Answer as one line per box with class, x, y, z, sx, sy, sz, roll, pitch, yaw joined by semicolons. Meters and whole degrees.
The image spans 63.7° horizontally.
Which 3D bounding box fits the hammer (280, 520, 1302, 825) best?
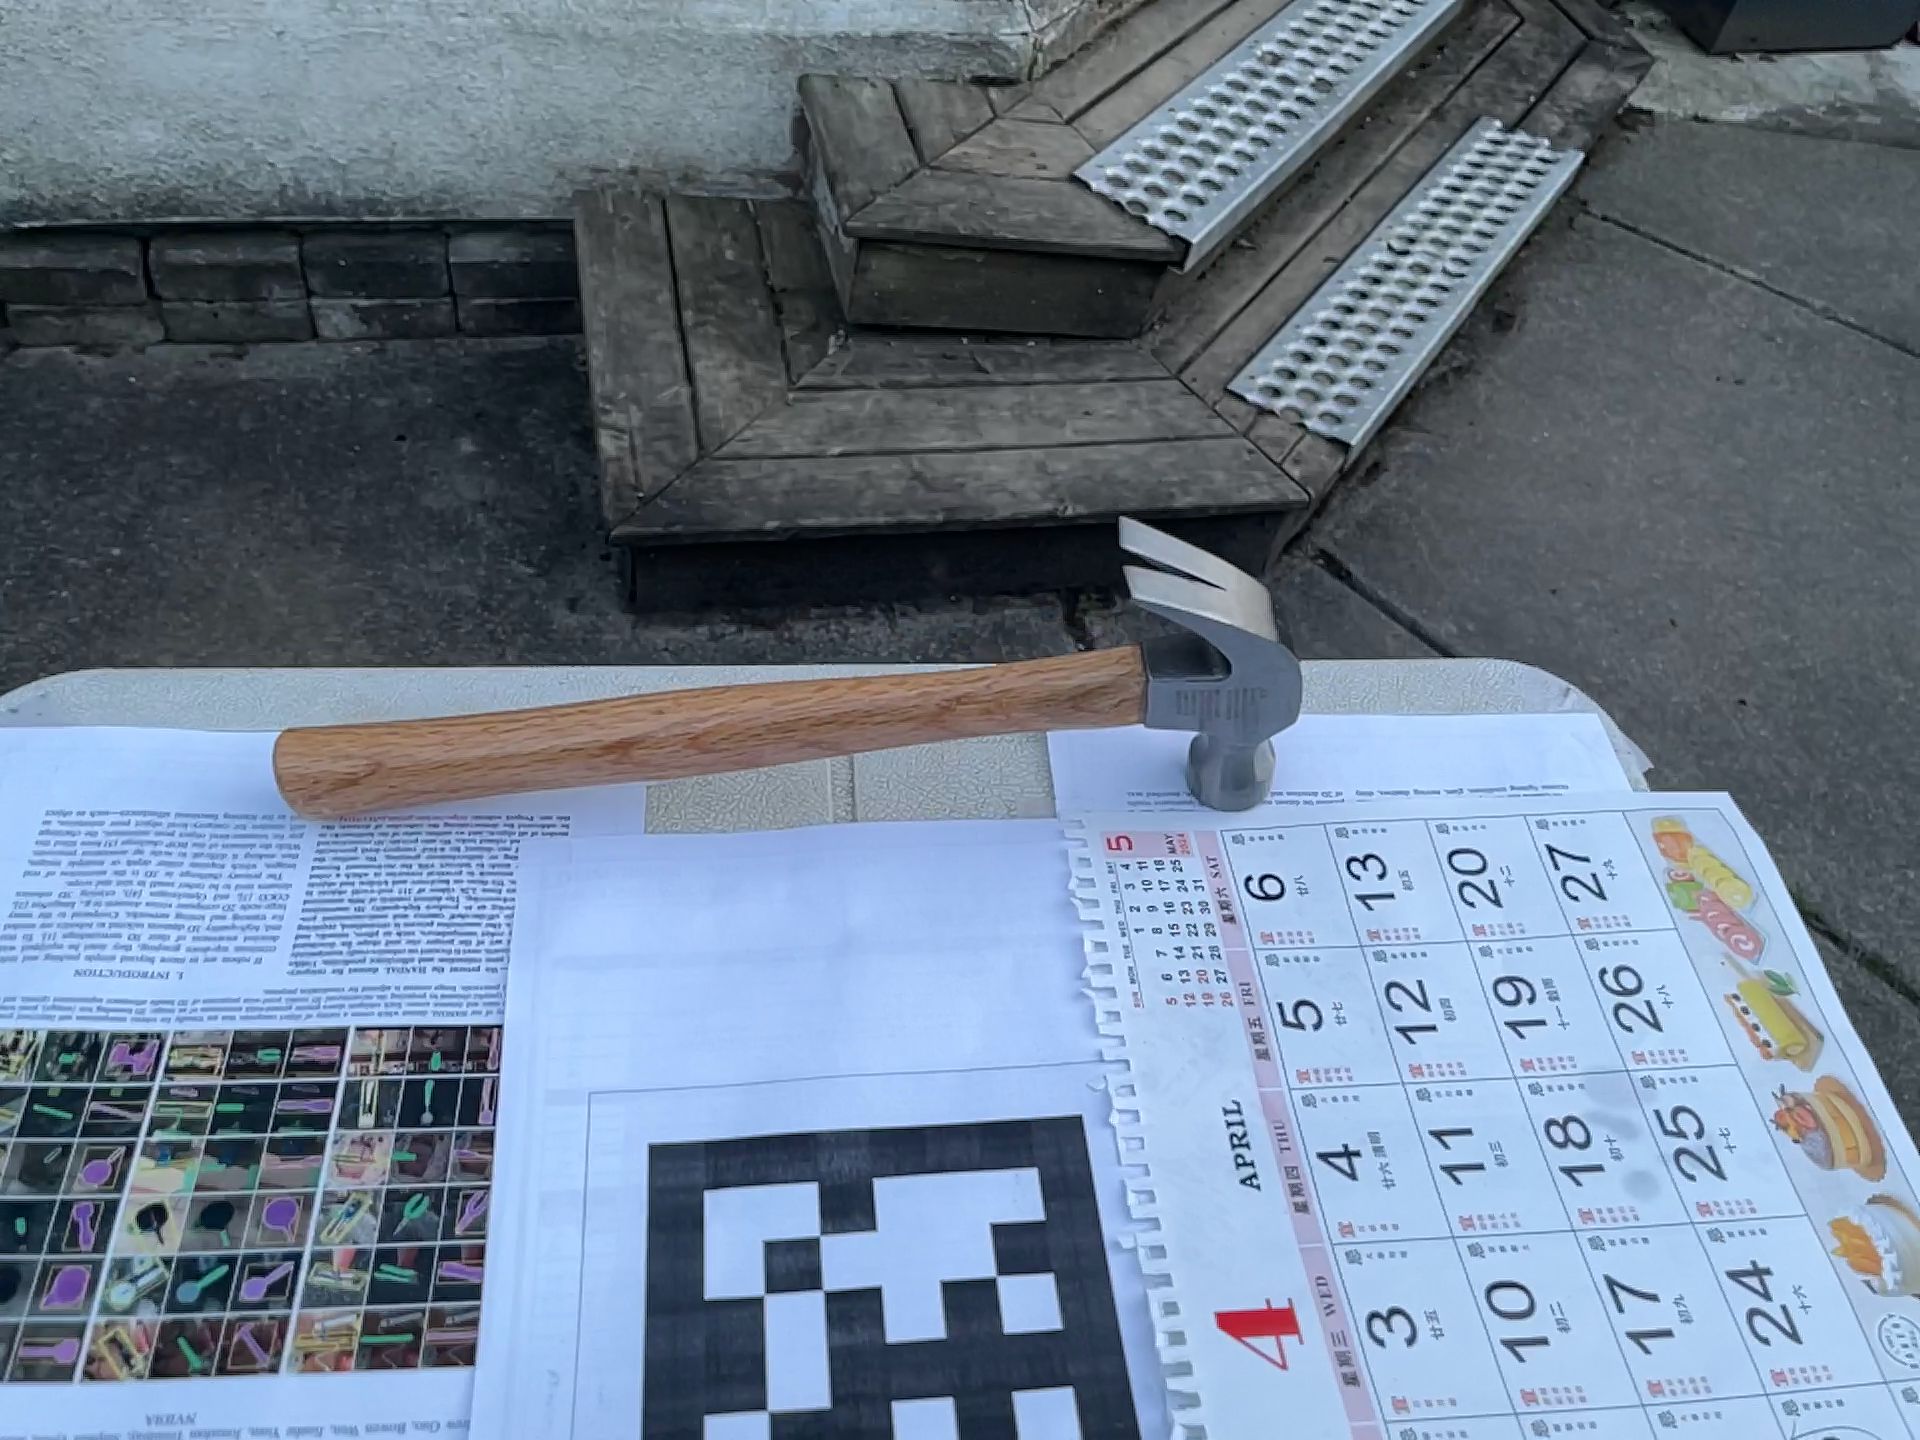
hammer;-0.053;0.000;0.507;0.331;0.130;0.031;-6;55;-1
